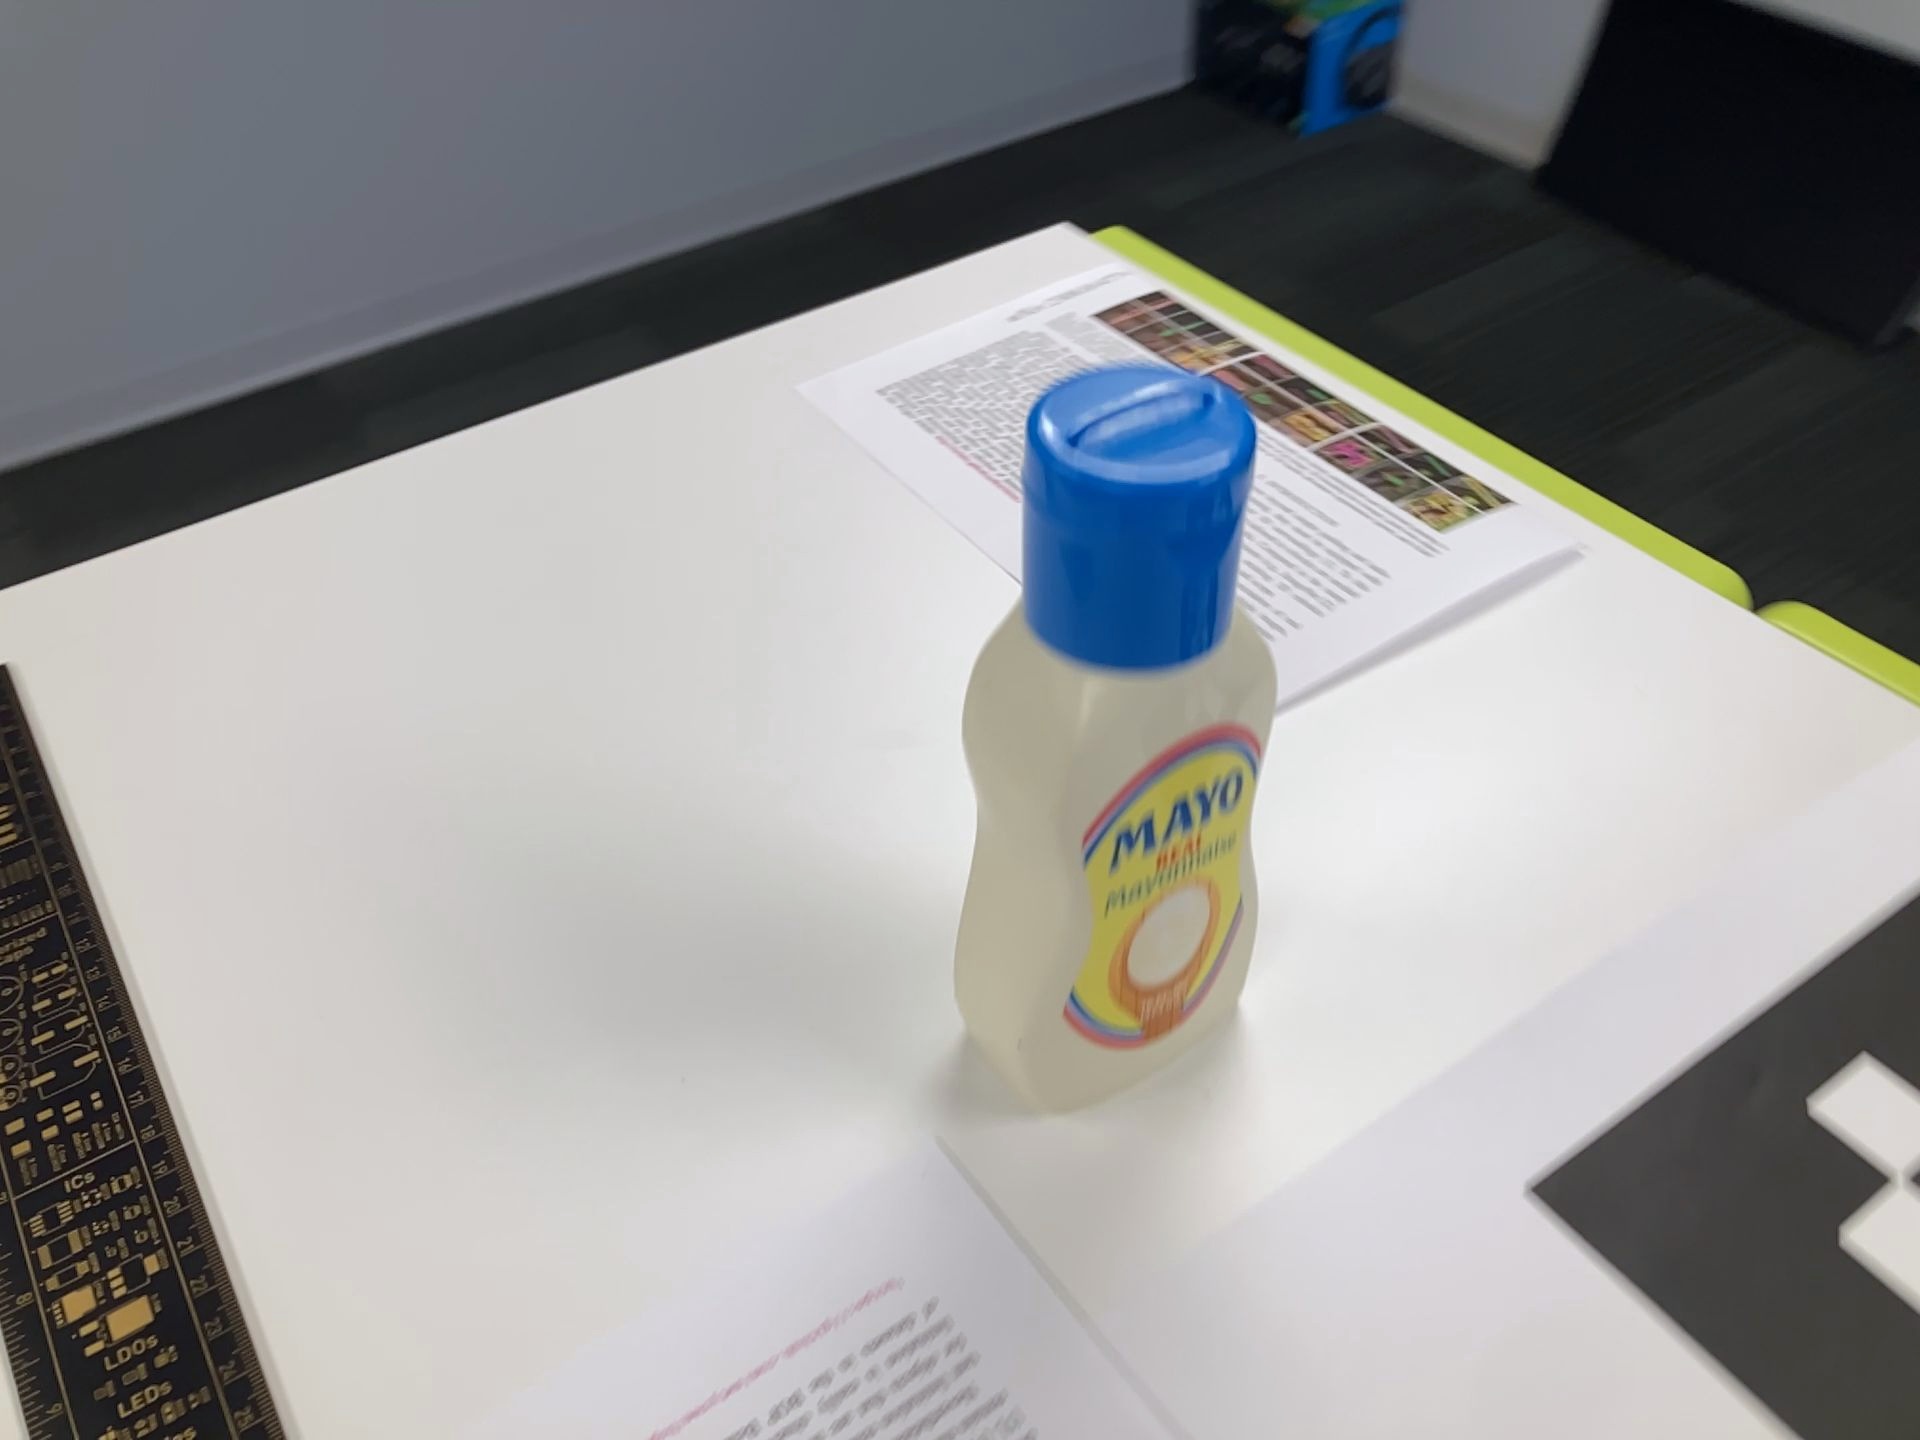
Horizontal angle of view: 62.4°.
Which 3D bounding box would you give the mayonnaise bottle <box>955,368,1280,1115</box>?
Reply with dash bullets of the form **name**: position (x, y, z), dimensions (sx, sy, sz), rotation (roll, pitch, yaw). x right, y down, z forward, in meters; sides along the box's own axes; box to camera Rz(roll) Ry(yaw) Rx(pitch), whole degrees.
- **mayonnaise bottle**: position (0.030, 0.009, 0.292), dimensions (0.065, 0.148, 0.041), rotation (-26, 48, -24)
